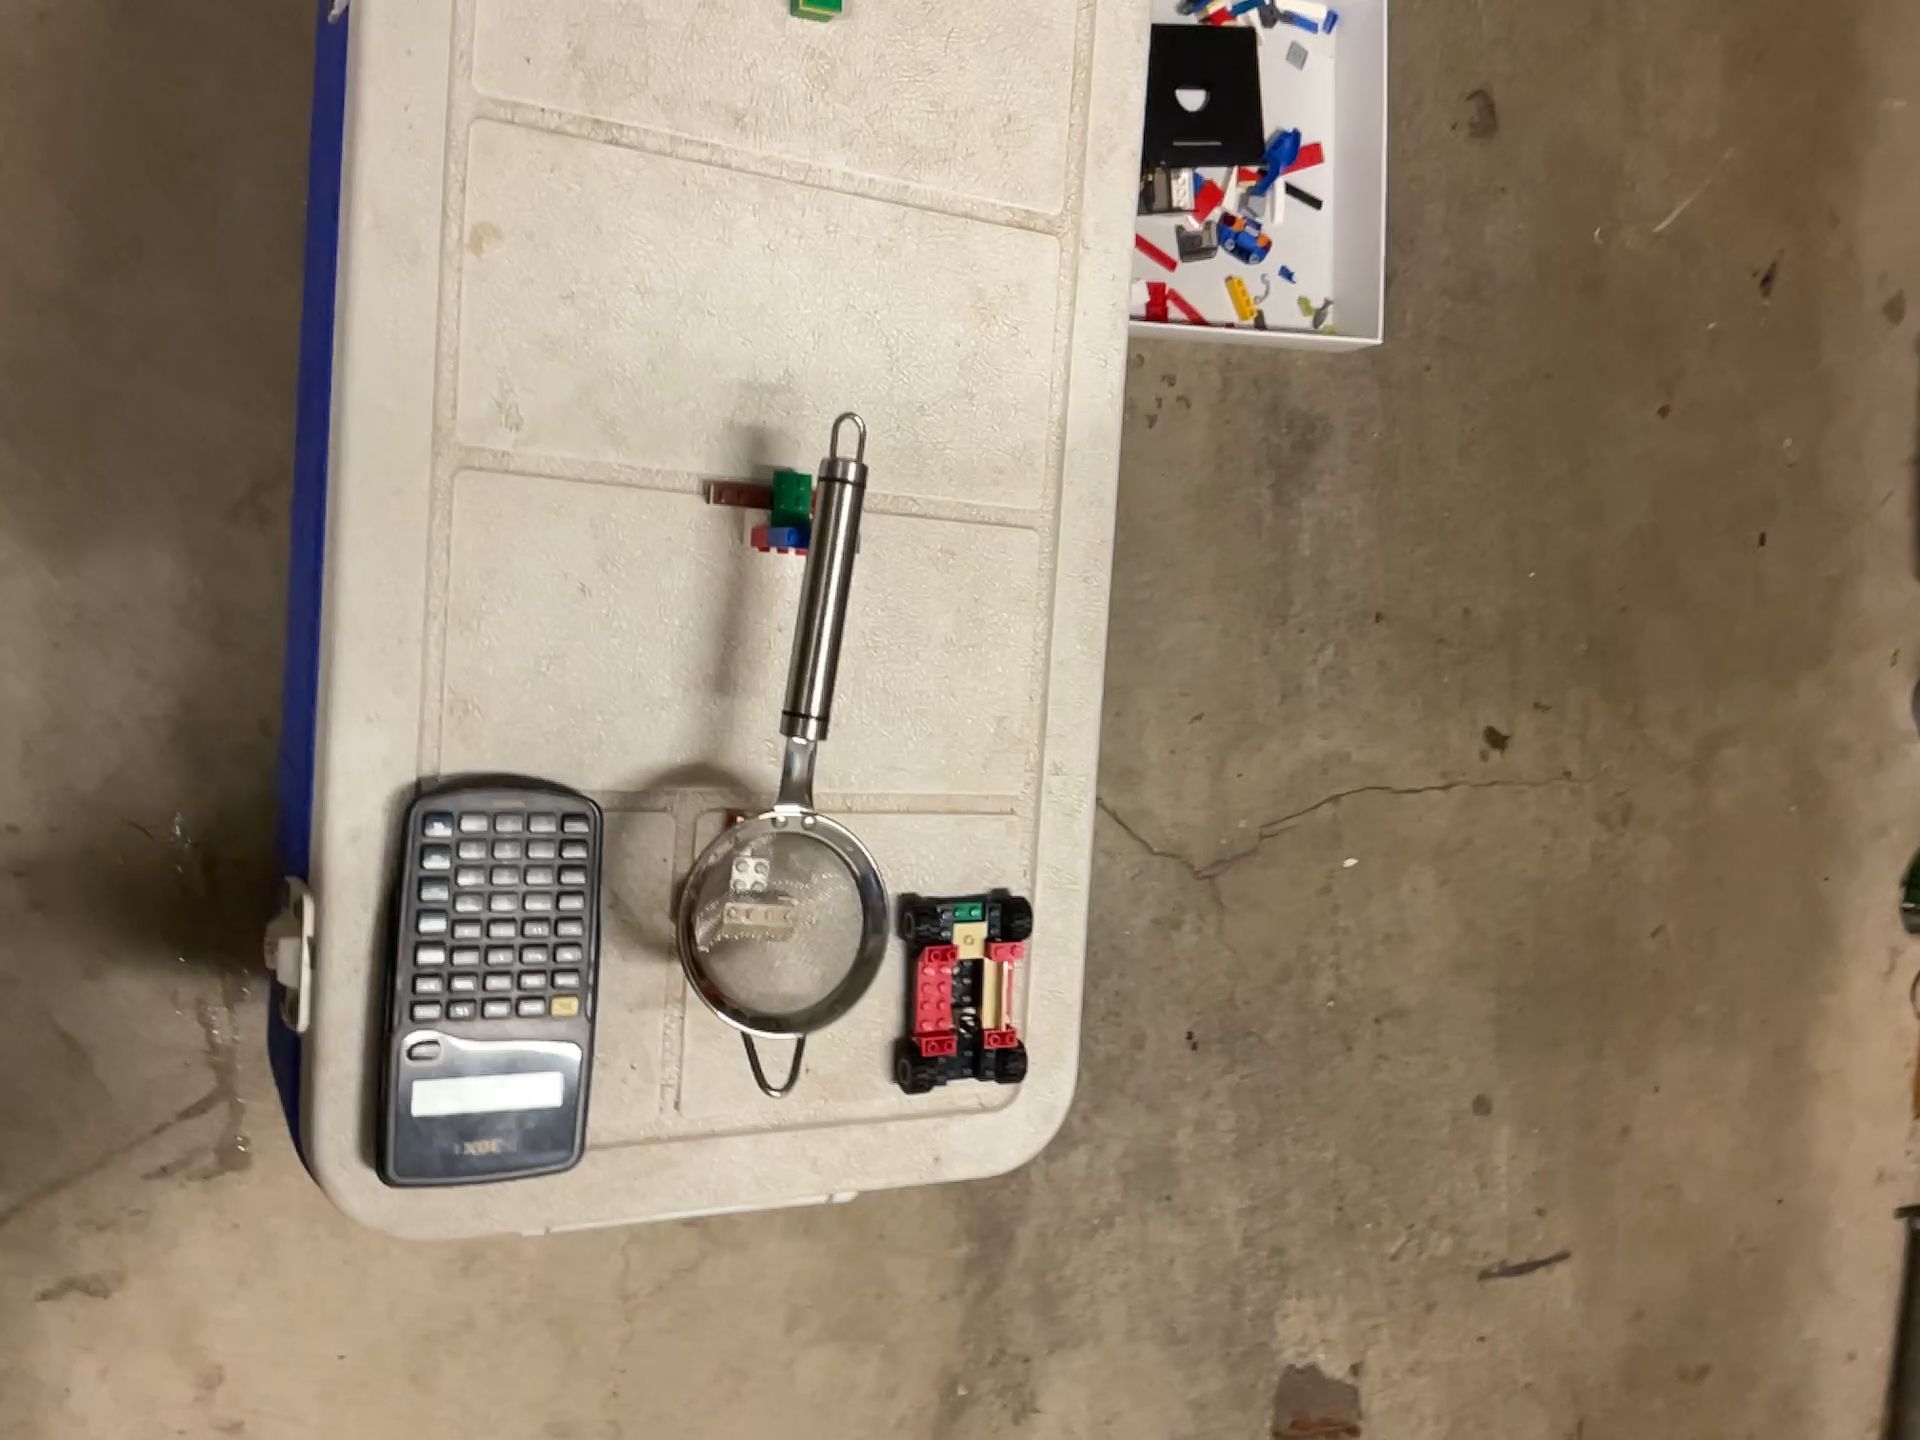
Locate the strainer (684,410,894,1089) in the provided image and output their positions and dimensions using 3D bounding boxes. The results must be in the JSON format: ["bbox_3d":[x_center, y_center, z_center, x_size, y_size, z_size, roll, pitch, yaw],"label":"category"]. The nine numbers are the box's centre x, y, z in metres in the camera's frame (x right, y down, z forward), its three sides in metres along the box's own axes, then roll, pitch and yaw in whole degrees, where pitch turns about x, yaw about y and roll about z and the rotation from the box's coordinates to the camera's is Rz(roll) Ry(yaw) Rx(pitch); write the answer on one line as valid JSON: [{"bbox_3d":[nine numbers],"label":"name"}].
[{"bbox_3d":[-0.060,0.009,0.620,0.087,0.050,0.258,8,90,-29],"label":"strainer"}]
